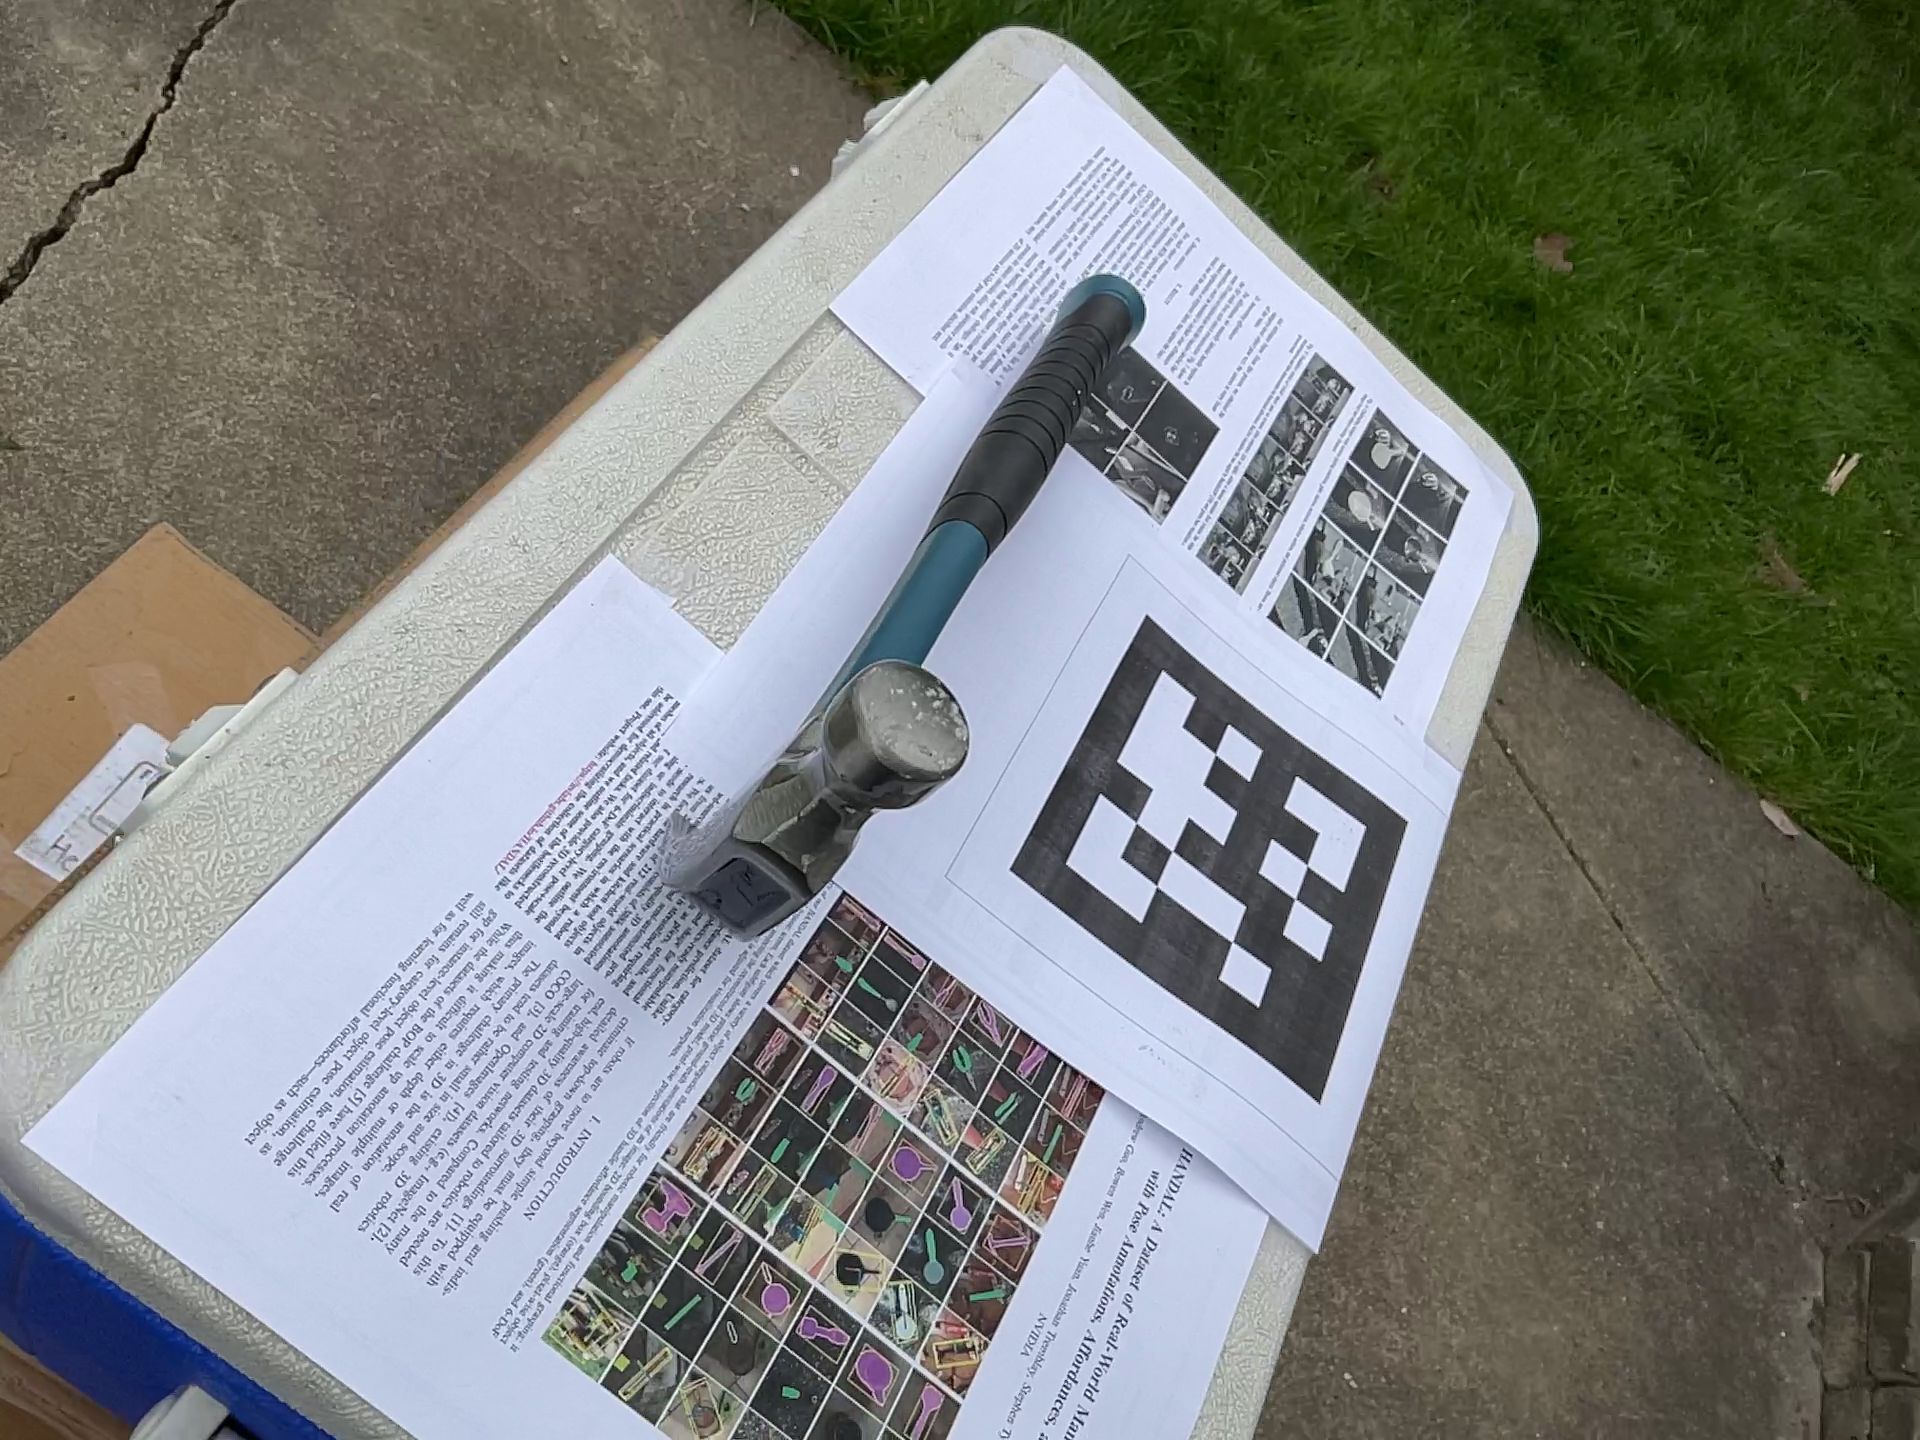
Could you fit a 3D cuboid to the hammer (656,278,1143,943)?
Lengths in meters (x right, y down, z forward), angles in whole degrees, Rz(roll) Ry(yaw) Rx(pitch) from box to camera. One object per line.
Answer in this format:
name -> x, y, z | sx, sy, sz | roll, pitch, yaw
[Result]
hammer -> 0.002, -0.057, 0.488 | 0.033, 0.128, 0.331 | 40, 41, -11
